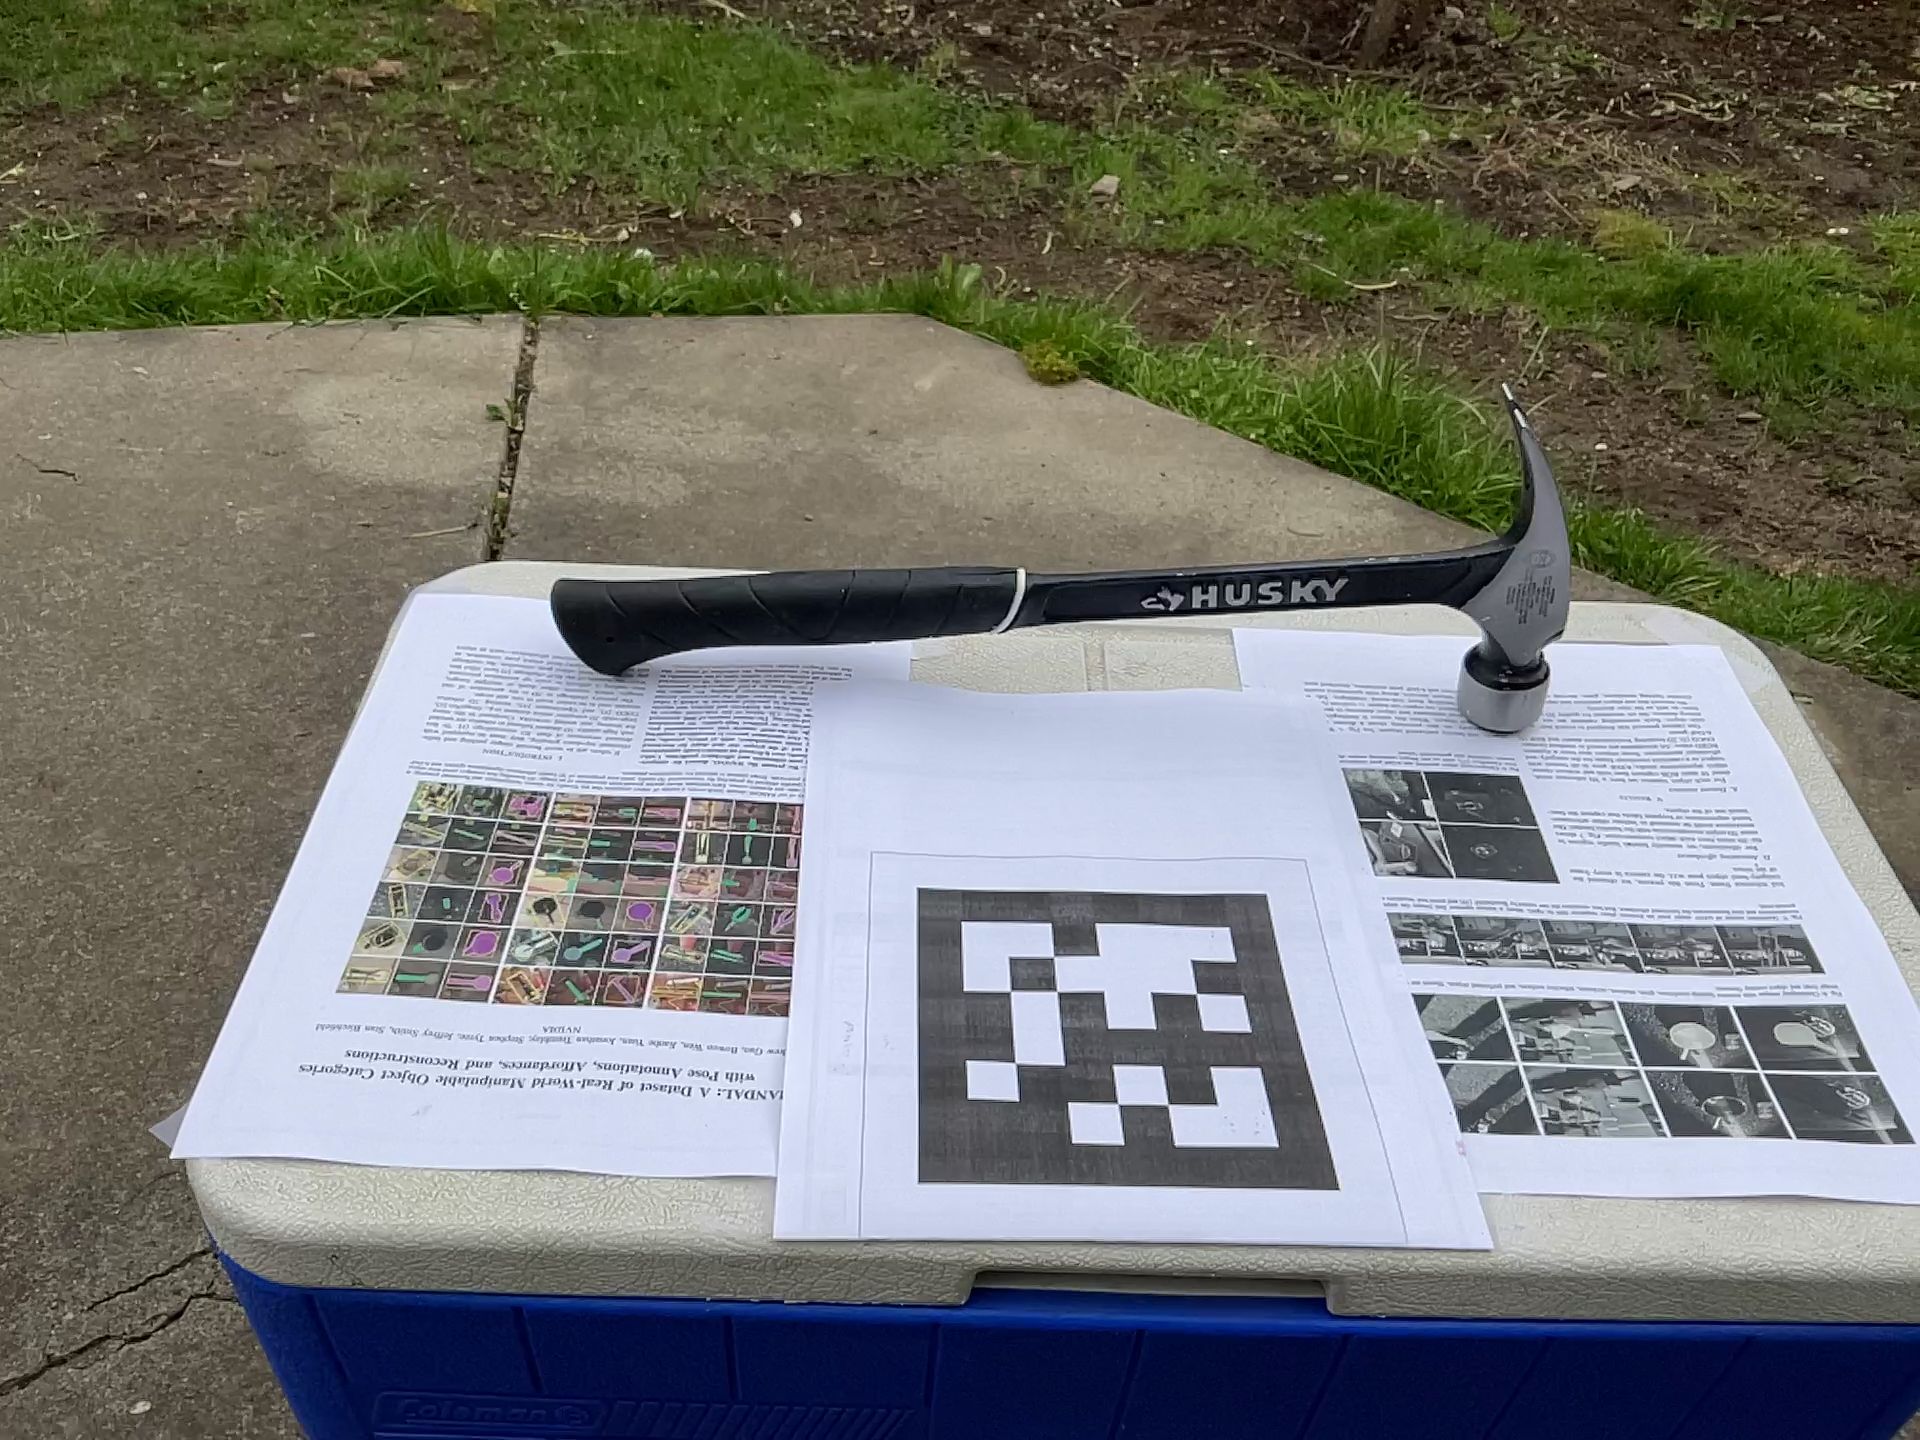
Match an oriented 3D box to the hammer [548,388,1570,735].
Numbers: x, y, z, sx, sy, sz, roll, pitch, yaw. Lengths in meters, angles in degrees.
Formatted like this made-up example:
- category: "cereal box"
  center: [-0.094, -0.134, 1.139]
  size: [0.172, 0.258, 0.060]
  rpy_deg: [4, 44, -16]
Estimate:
- category: "hammer"
  center: [0.038, -0.051, 0.642]
  size: [0.408, 0.149, 0.036]
  rpy_deg: [-2, 41, 3]
